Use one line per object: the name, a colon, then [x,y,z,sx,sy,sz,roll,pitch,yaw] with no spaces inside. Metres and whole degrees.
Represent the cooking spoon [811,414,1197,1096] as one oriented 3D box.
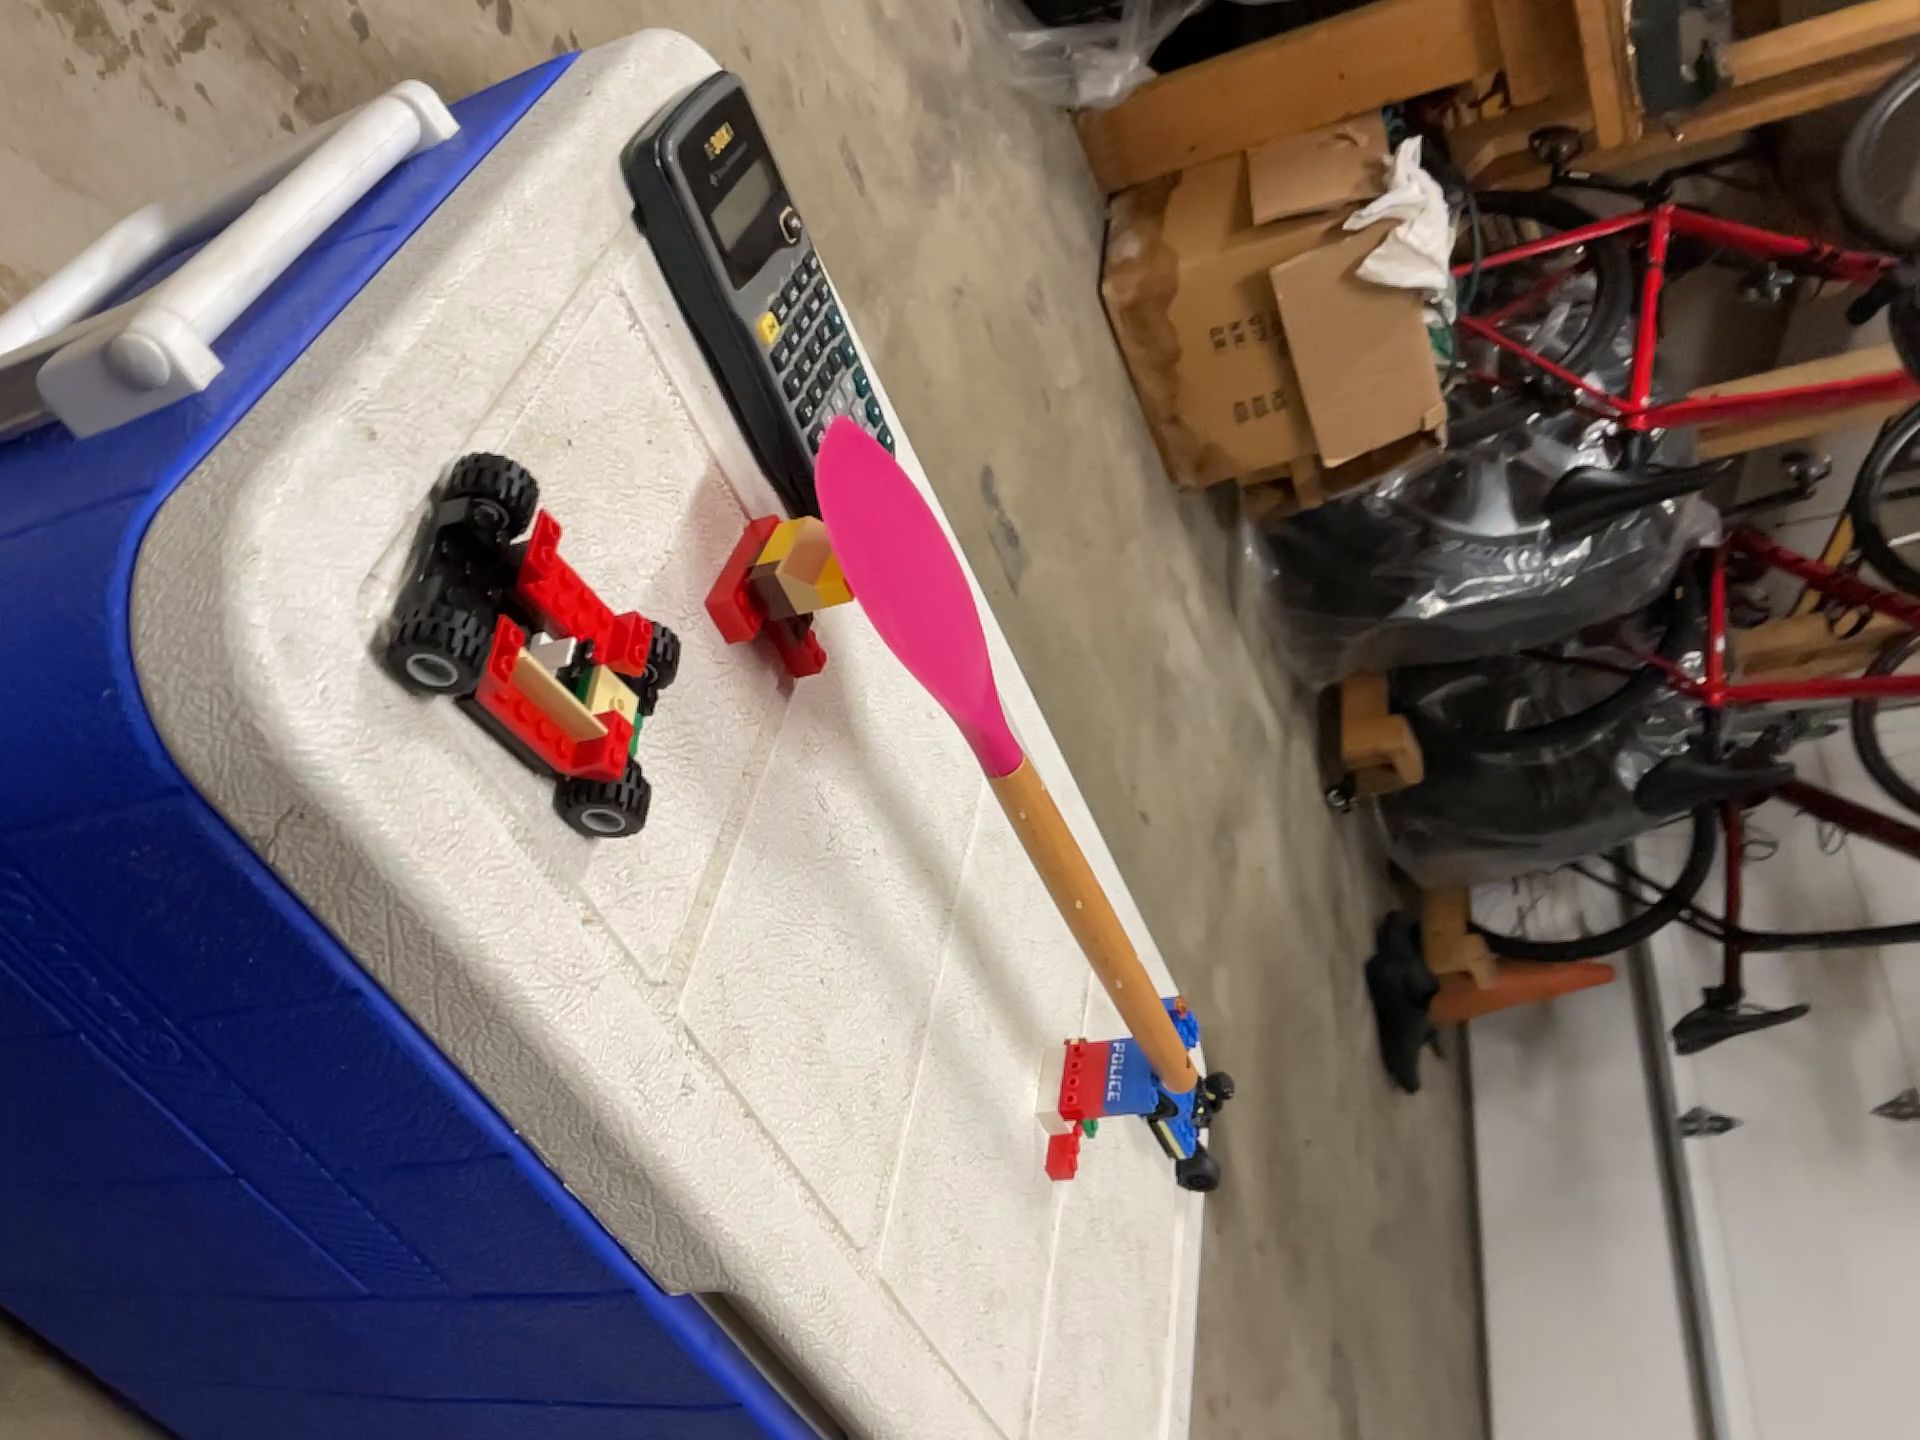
cooking spoon: [0.024,0.033,0.547,0.318,0.017,0.069,60,29,-35]
